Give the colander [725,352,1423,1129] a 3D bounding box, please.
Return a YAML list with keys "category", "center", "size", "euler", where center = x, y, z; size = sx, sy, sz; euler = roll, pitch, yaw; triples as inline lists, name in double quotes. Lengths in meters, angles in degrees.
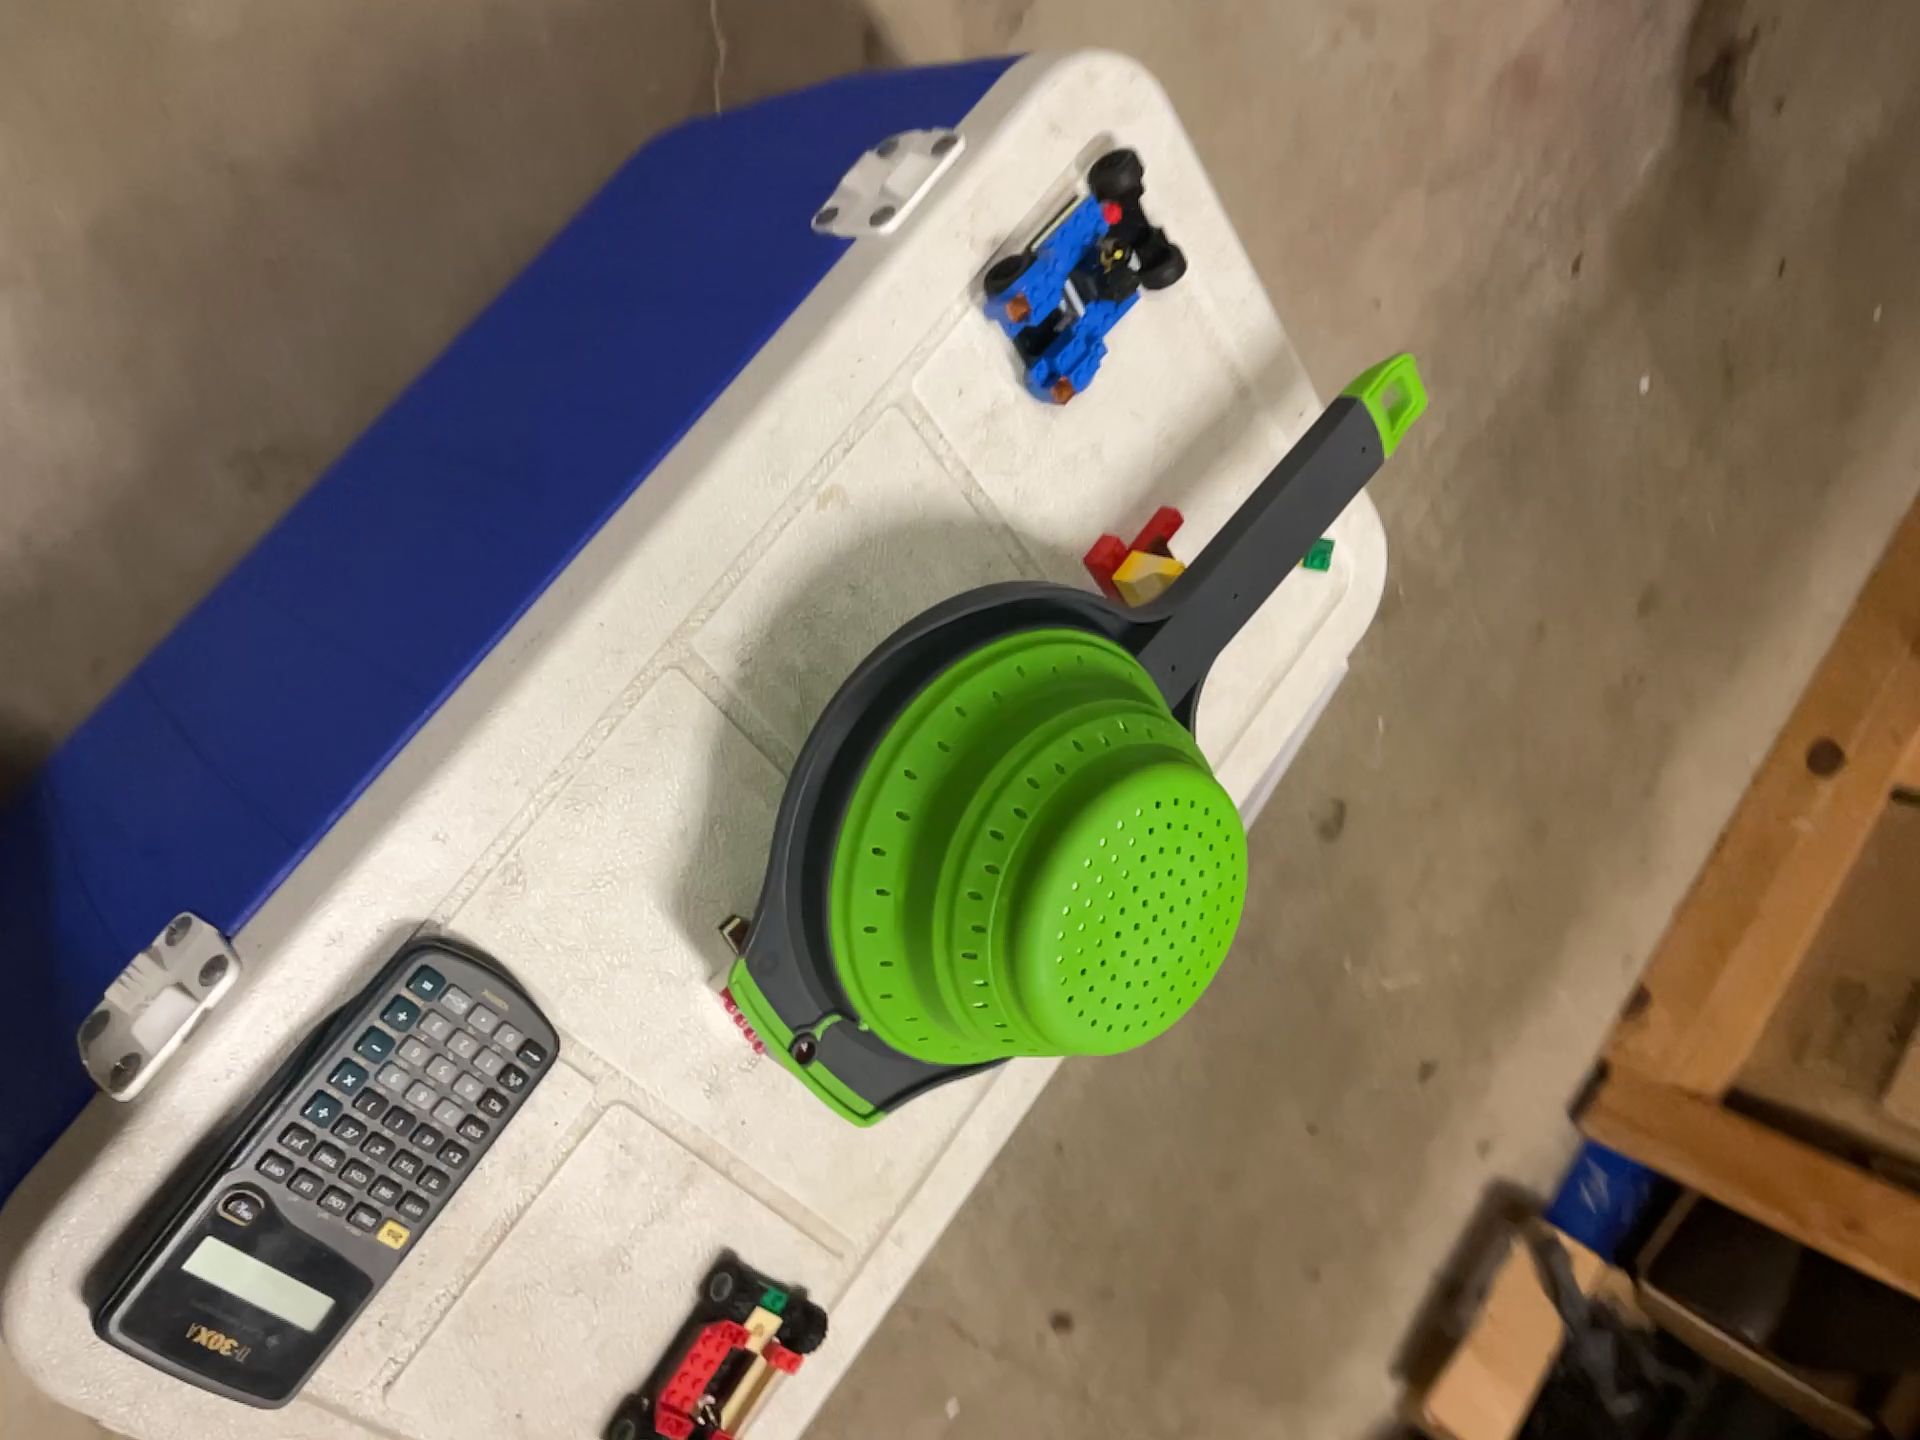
- category: "colander"
  center: [0.090, -0.002, 0.610]
  size: [0.397, 0.095, 0.204]
  euler: [-48, 129, -17]
